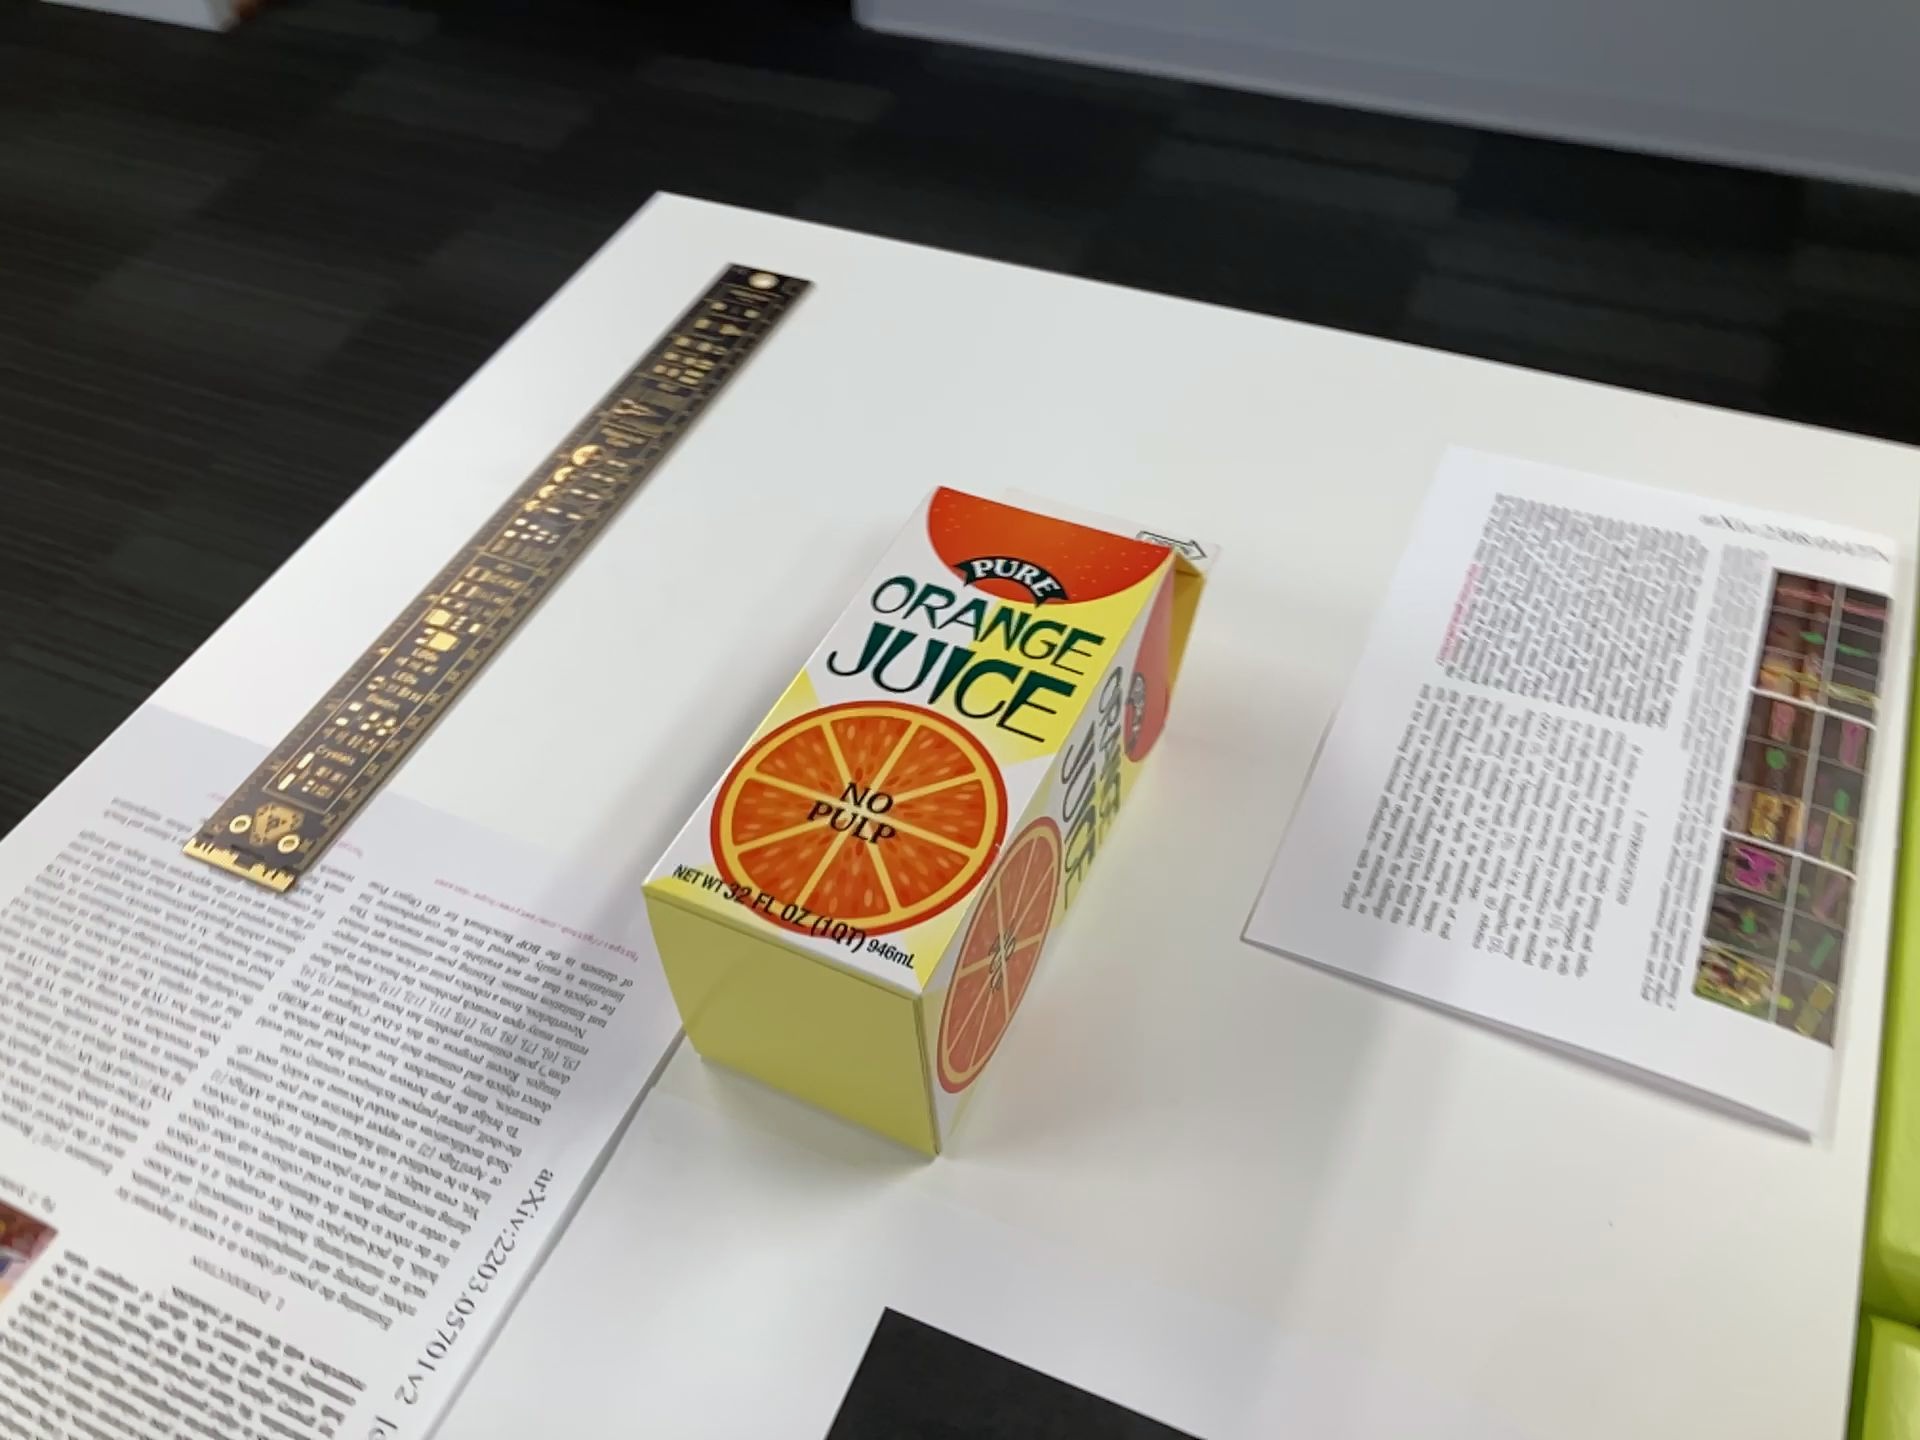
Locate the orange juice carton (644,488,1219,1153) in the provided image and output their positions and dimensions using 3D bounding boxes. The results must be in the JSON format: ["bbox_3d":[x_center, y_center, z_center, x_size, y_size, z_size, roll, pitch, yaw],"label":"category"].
[{"bbox_3d":[0.003,0.006,0.423,0.072,0.073,0.192,18,53,19],"label":"orange juice carton"}]
